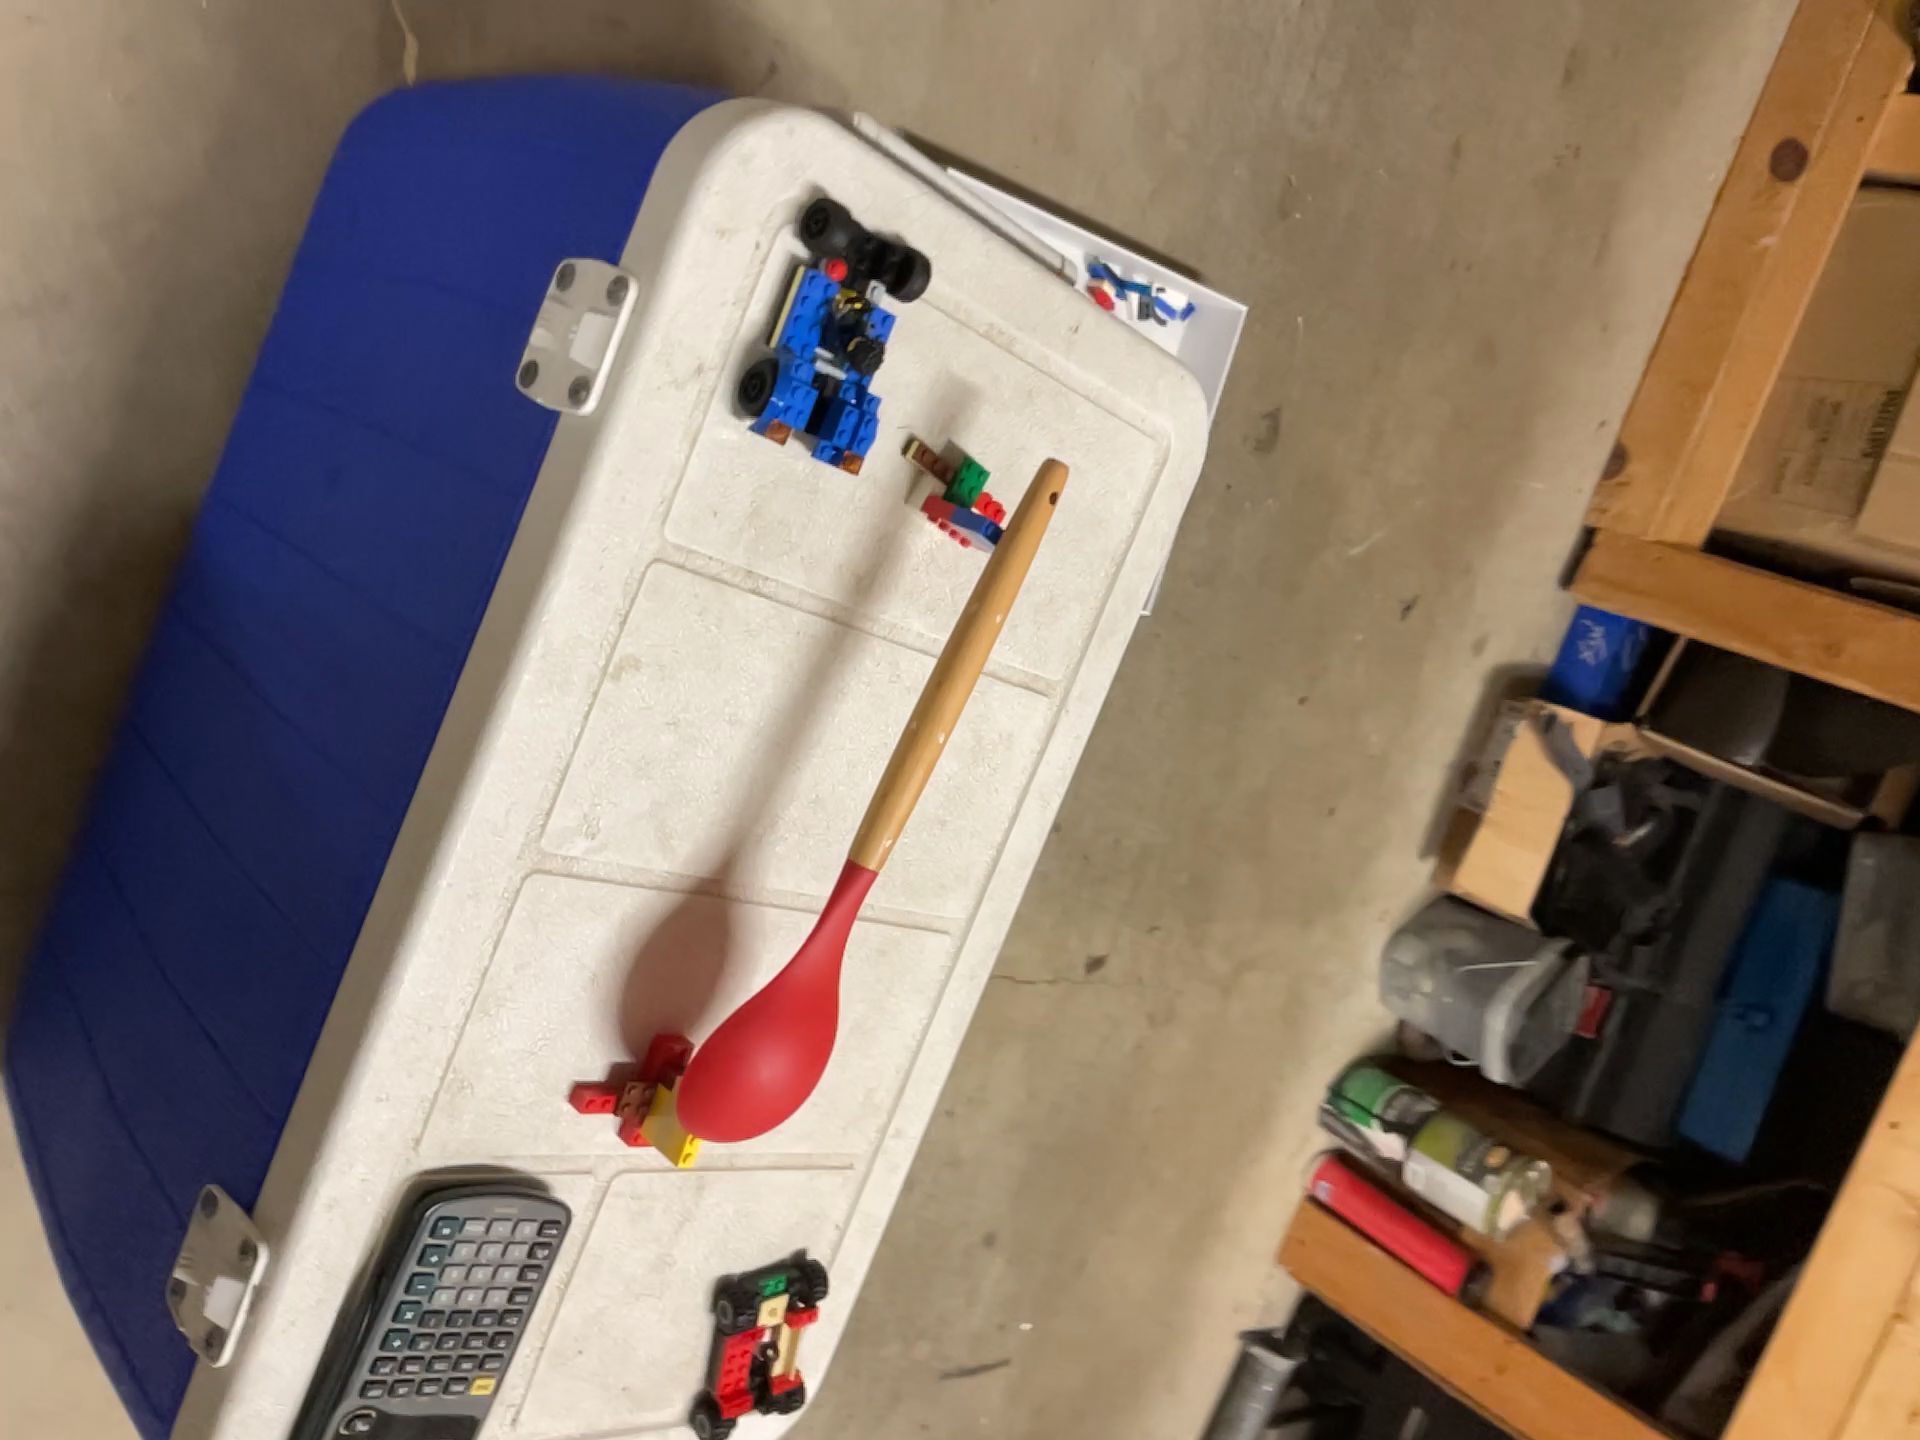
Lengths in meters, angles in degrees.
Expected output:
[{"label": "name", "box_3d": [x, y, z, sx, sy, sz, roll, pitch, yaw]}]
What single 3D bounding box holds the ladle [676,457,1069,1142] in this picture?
[{"label": "ladle", "box_3d": [-0.029, 0.036, 0.654, 0.069, 0.031, 0.315, 26, 90, -48]}]
